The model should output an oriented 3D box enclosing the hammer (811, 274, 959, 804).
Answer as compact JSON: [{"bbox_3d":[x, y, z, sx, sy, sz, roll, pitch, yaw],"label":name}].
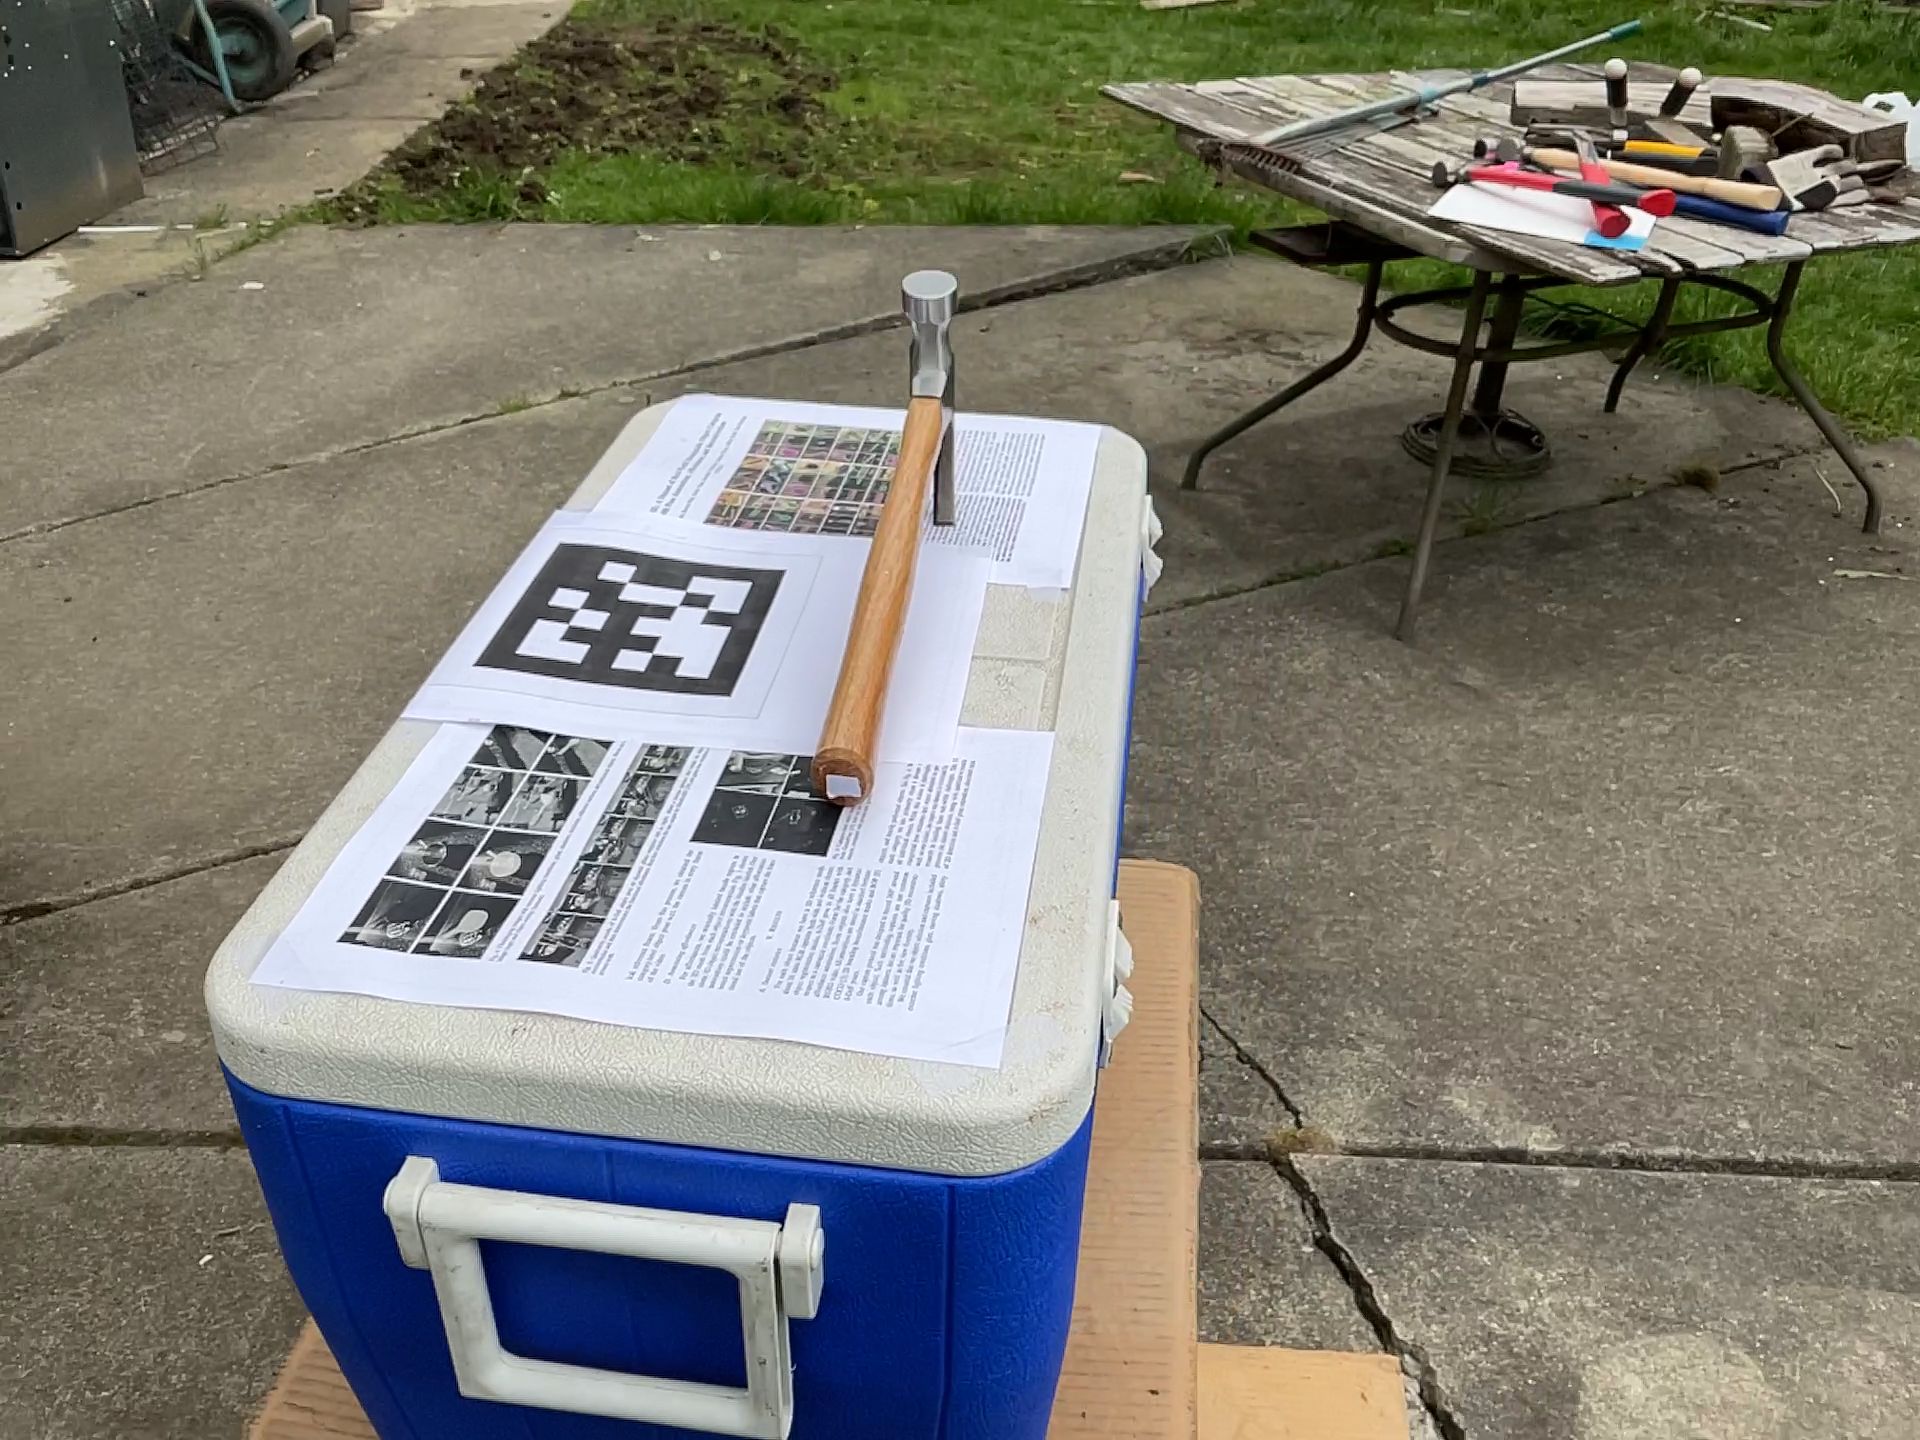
[{"bbox_3d":[-0.032,-0.086,0.808,0.031,0.130,0.331,3,44,6],"label":"hammer"}]
